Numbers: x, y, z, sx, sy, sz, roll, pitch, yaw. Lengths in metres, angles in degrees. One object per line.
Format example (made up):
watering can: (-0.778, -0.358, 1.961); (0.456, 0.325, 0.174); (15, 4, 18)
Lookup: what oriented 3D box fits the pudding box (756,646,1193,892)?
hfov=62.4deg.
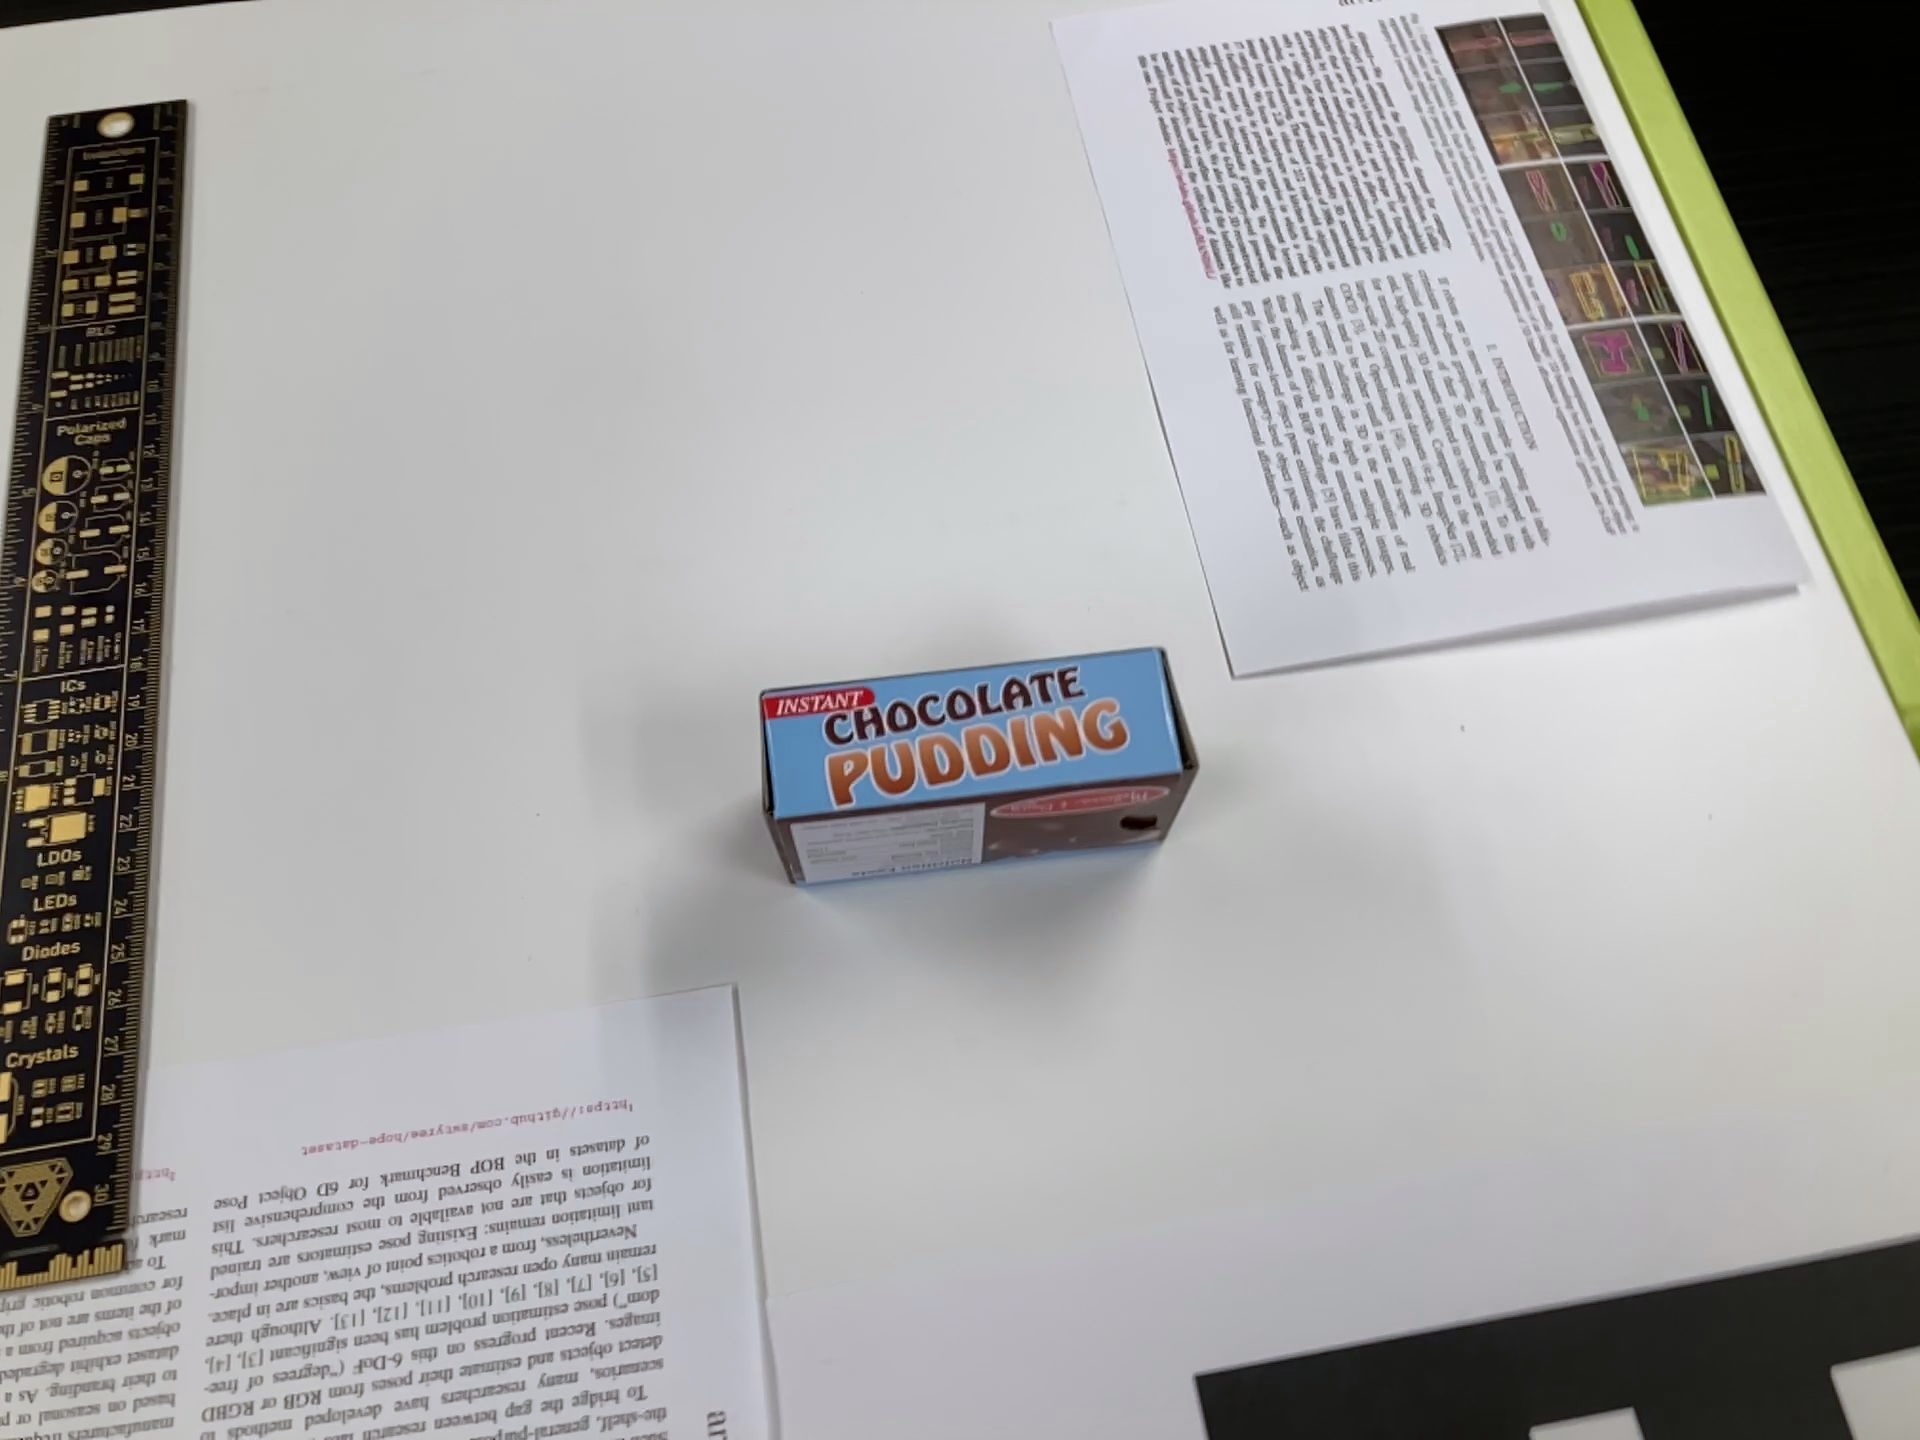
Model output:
pudding box: (0.002, 0.012, 0.332); (0.083, 0.049, 0.030); (-7, 67, -3)
